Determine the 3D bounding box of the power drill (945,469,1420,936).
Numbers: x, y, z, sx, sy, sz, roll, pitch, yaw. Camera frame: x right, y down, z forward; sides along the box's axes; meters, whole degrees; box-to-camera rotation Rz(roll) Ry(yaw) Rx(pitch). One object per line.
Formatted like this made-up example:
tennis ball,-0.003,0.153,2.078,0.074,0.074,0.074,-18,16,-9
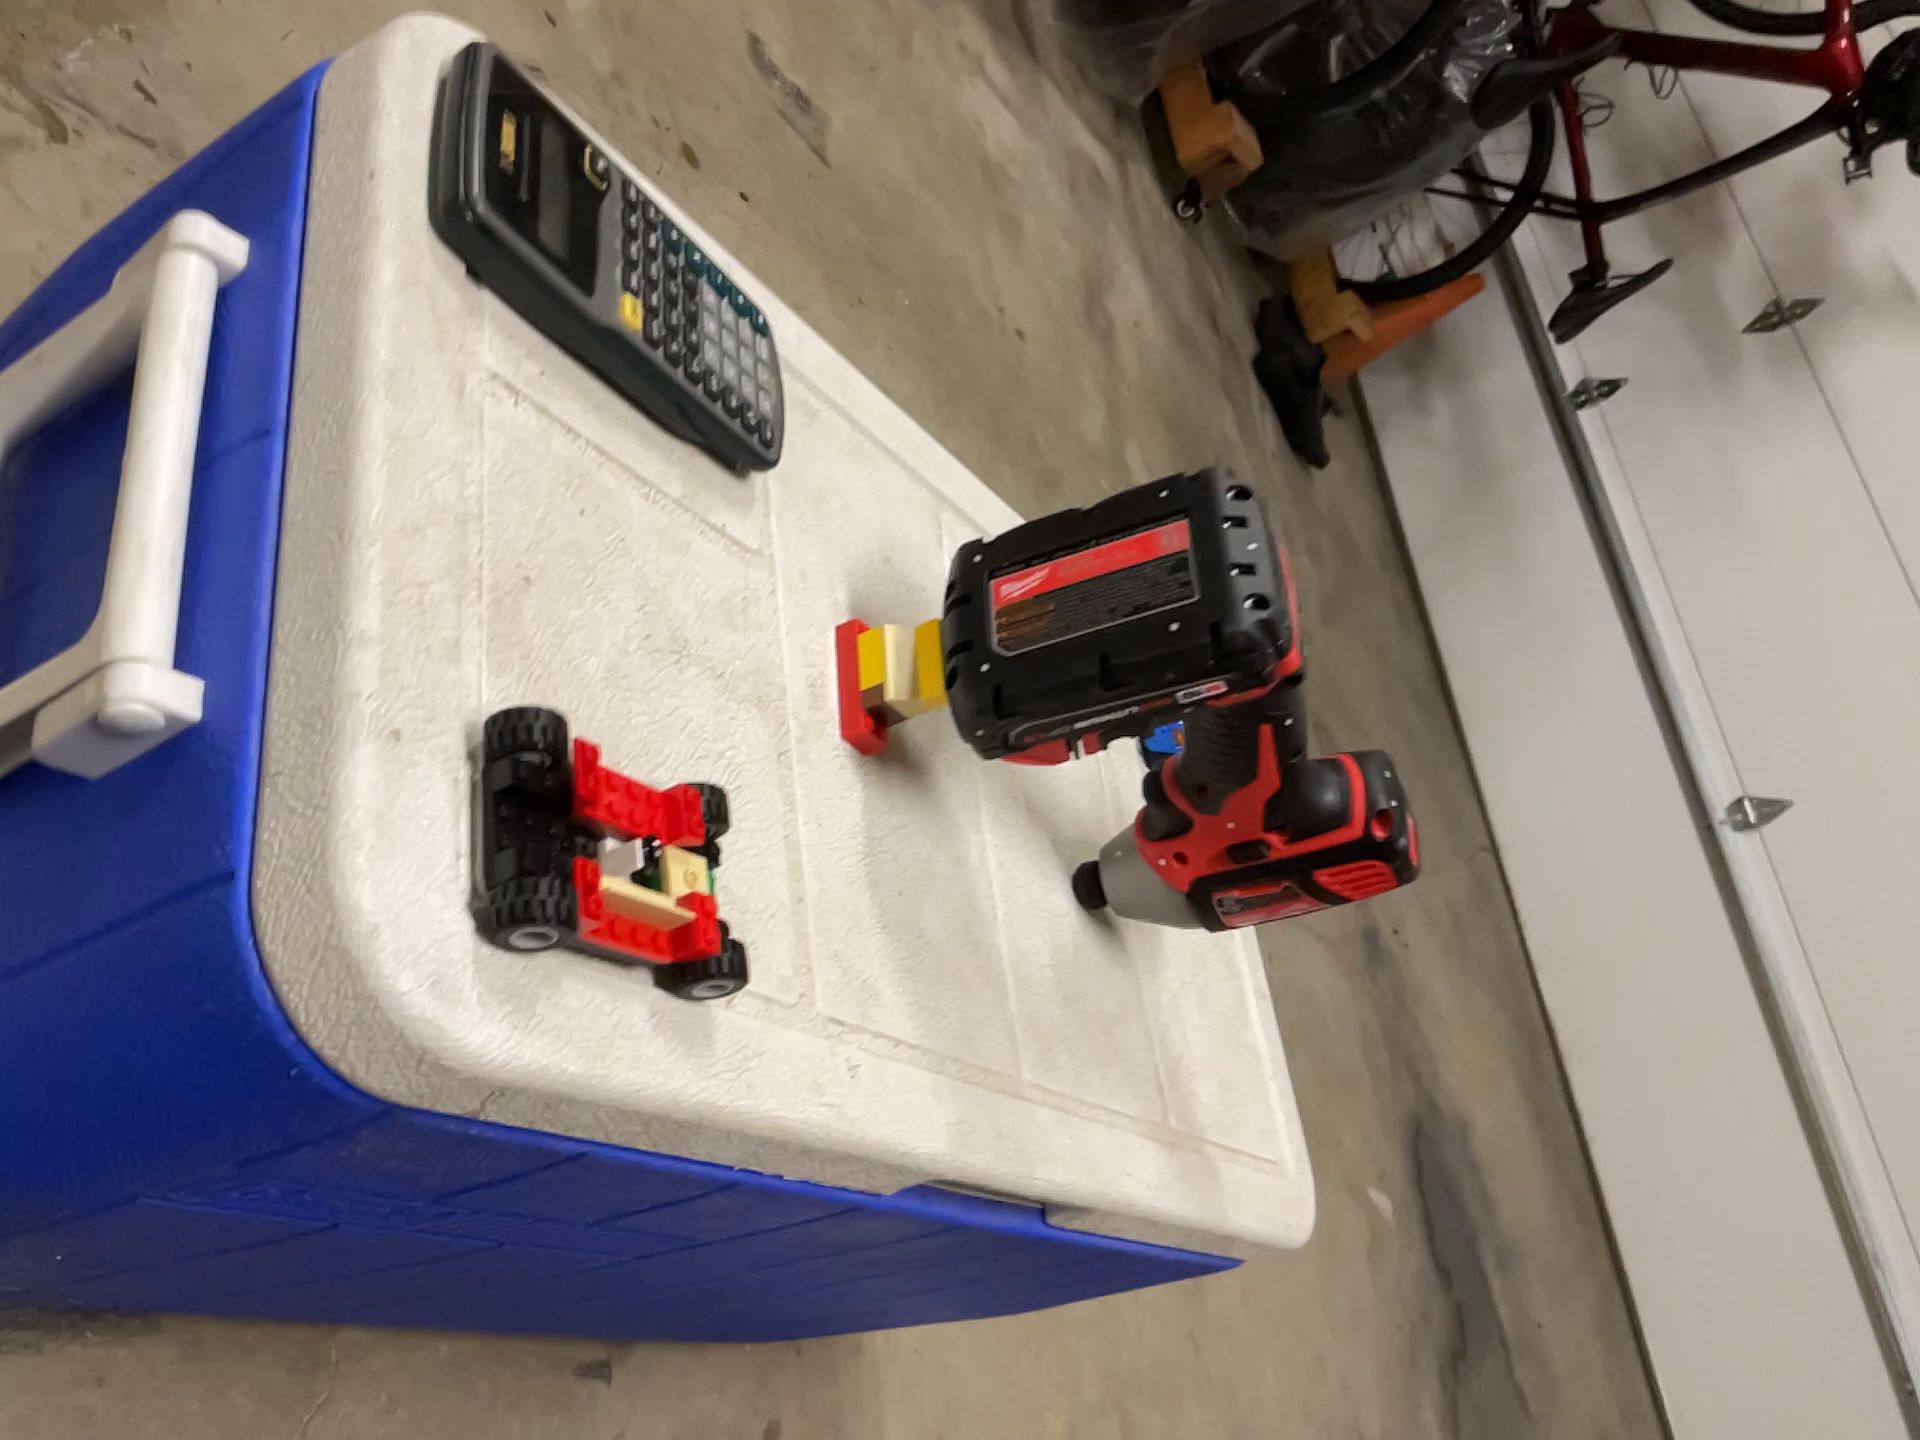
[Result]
power drill,0.083,0.014,0.611,0.219,0.143,0.079,51,29,-48
